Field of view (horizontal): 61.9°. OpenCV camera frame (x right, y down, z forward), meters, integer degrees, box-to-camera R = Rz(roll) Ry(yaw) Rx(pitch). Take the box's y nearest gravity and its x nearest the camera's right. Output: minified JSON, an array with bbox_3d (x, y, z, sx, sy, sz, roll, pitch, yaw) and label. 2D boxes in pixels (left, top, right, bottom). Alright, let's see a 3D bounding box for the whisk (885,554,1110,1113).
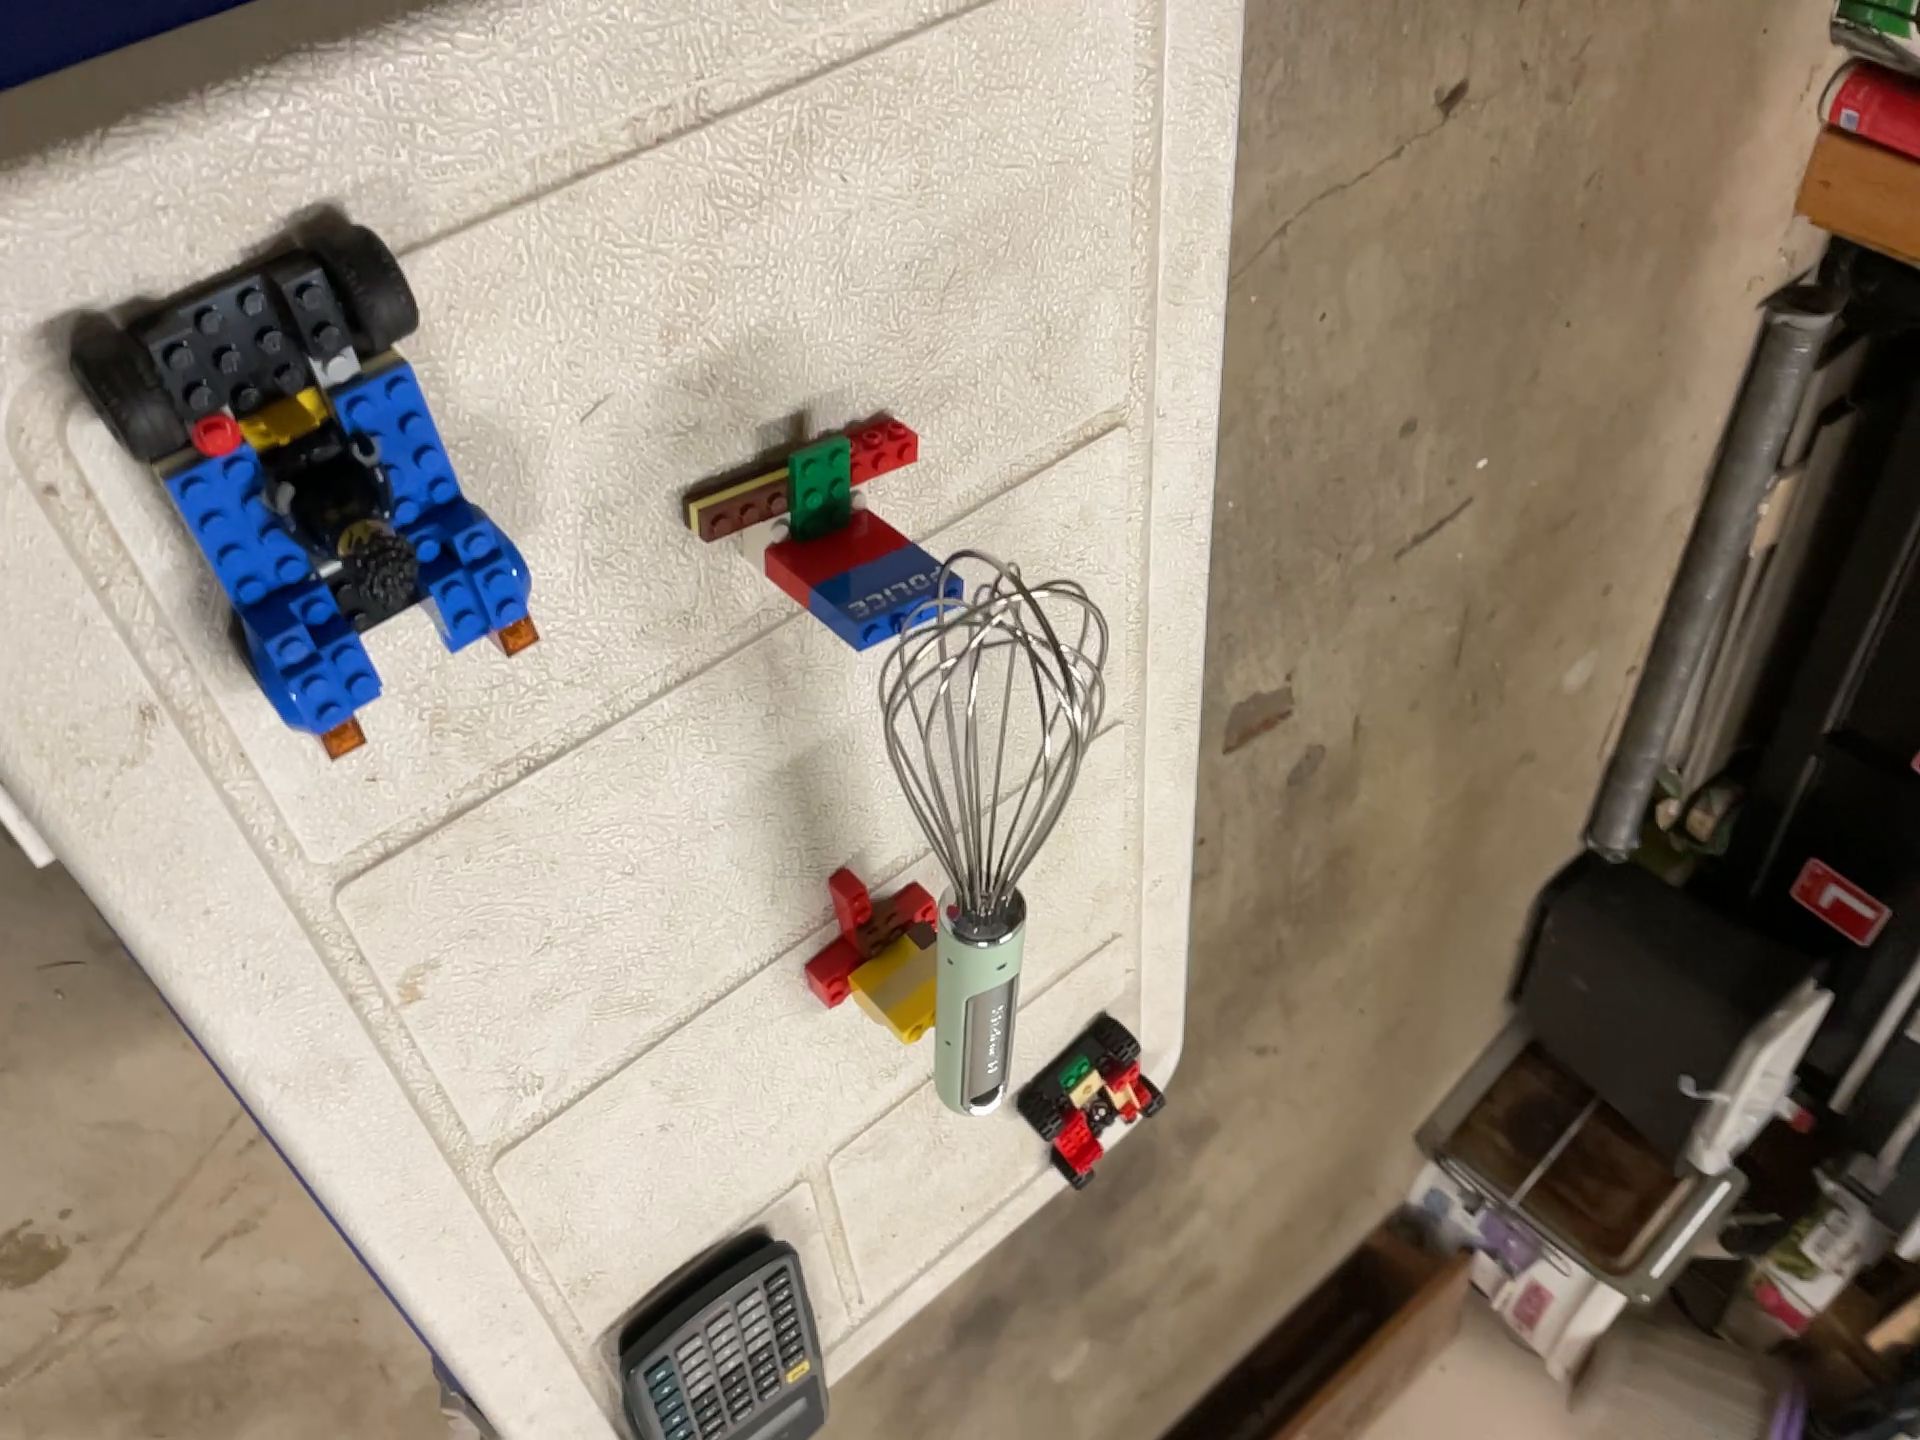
[{"bbox_3d":[0.007,0.048,0.440,0.058,0.059,0.246,-26,147,-21],"label":"whisk"}]
